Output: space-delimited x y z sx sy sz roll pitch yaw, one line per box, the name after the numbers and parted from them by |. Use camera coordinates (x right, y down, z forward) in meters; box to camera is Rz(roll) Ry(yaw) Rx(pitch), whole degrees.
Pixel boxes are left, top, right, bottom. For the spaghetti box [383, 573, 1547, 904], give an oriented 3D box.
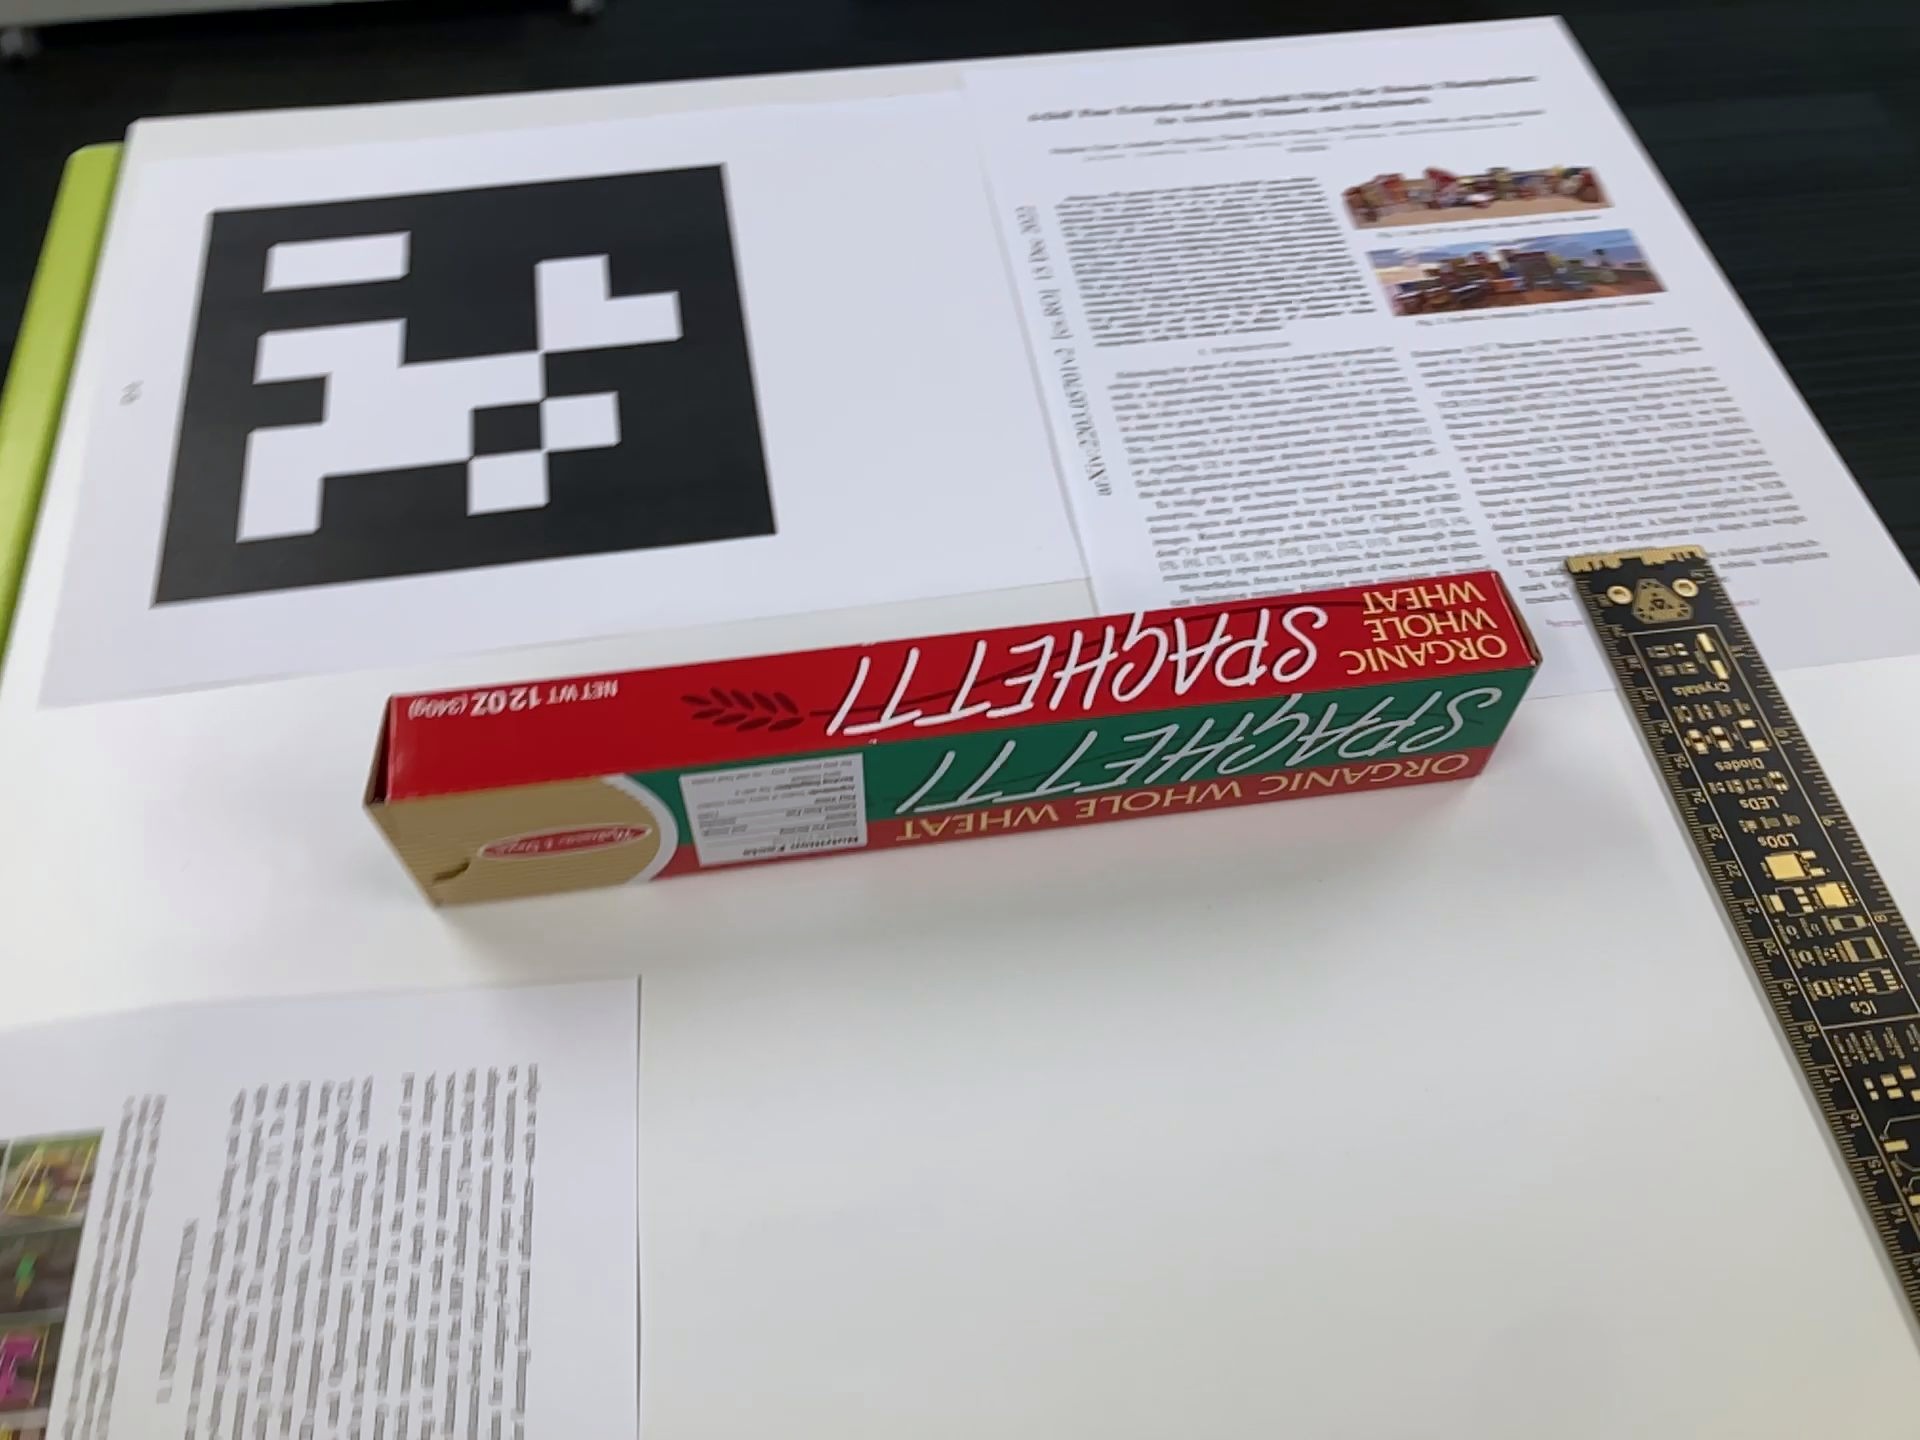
0.004 0.004 0.362 0.250 0.050 0.028 -7 58 -6 | spaghetti box
